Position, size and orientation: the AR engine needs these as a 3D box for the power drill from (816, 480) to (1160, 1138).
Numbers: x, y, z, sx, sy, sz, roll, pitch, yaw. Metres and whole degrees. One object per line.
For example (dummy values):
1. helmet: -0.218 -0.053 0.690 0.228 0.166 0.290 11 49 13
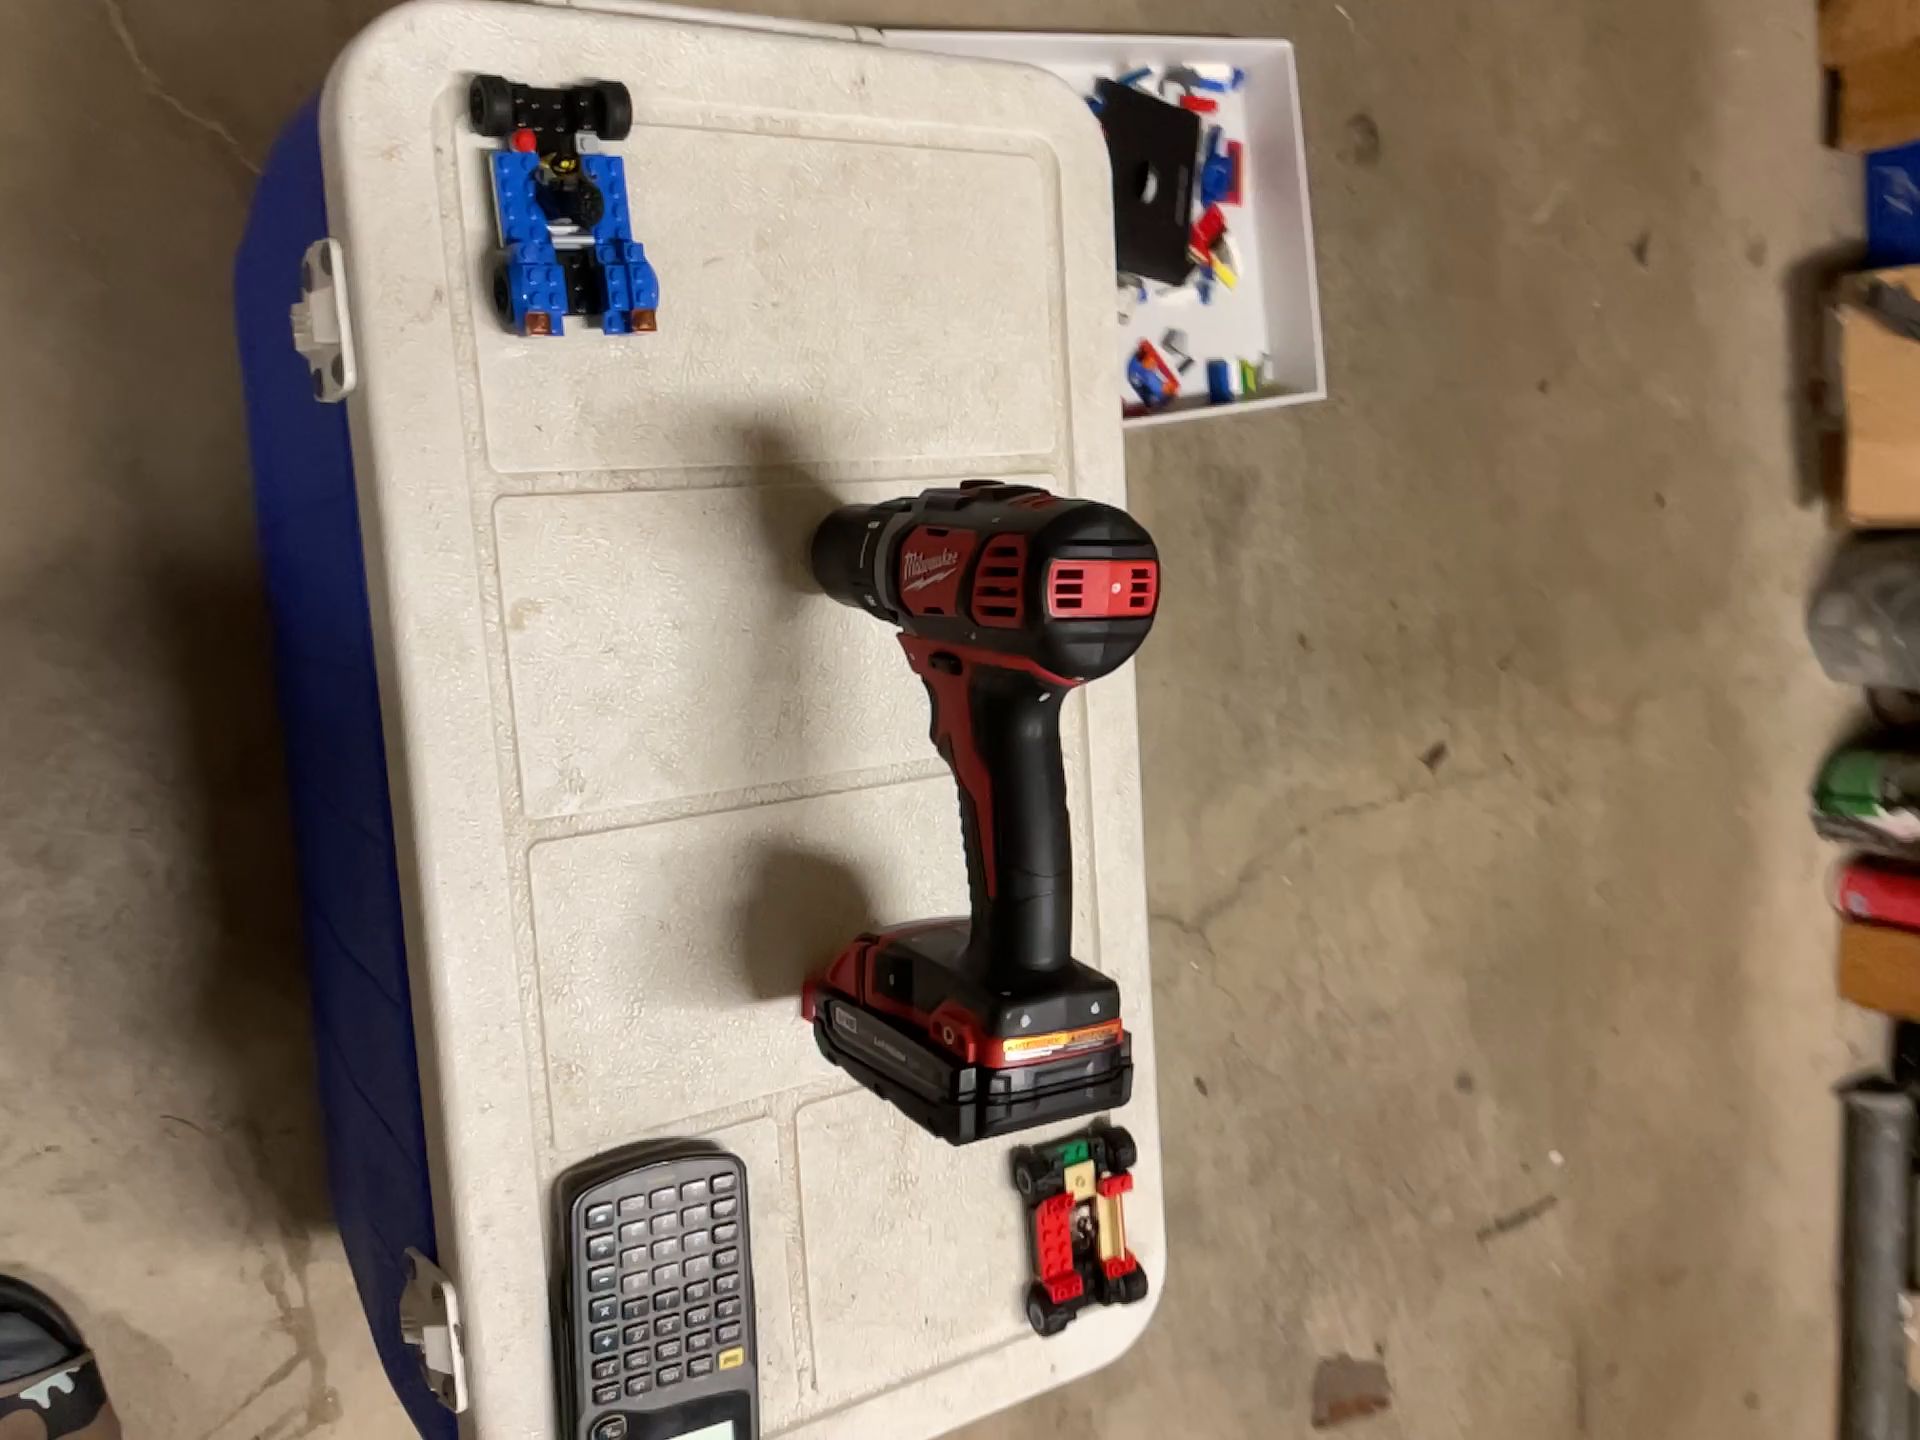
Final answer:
1. power drill: -0.004 0.022 0.610 0.080 0.188 0.226 -3 101 -31
